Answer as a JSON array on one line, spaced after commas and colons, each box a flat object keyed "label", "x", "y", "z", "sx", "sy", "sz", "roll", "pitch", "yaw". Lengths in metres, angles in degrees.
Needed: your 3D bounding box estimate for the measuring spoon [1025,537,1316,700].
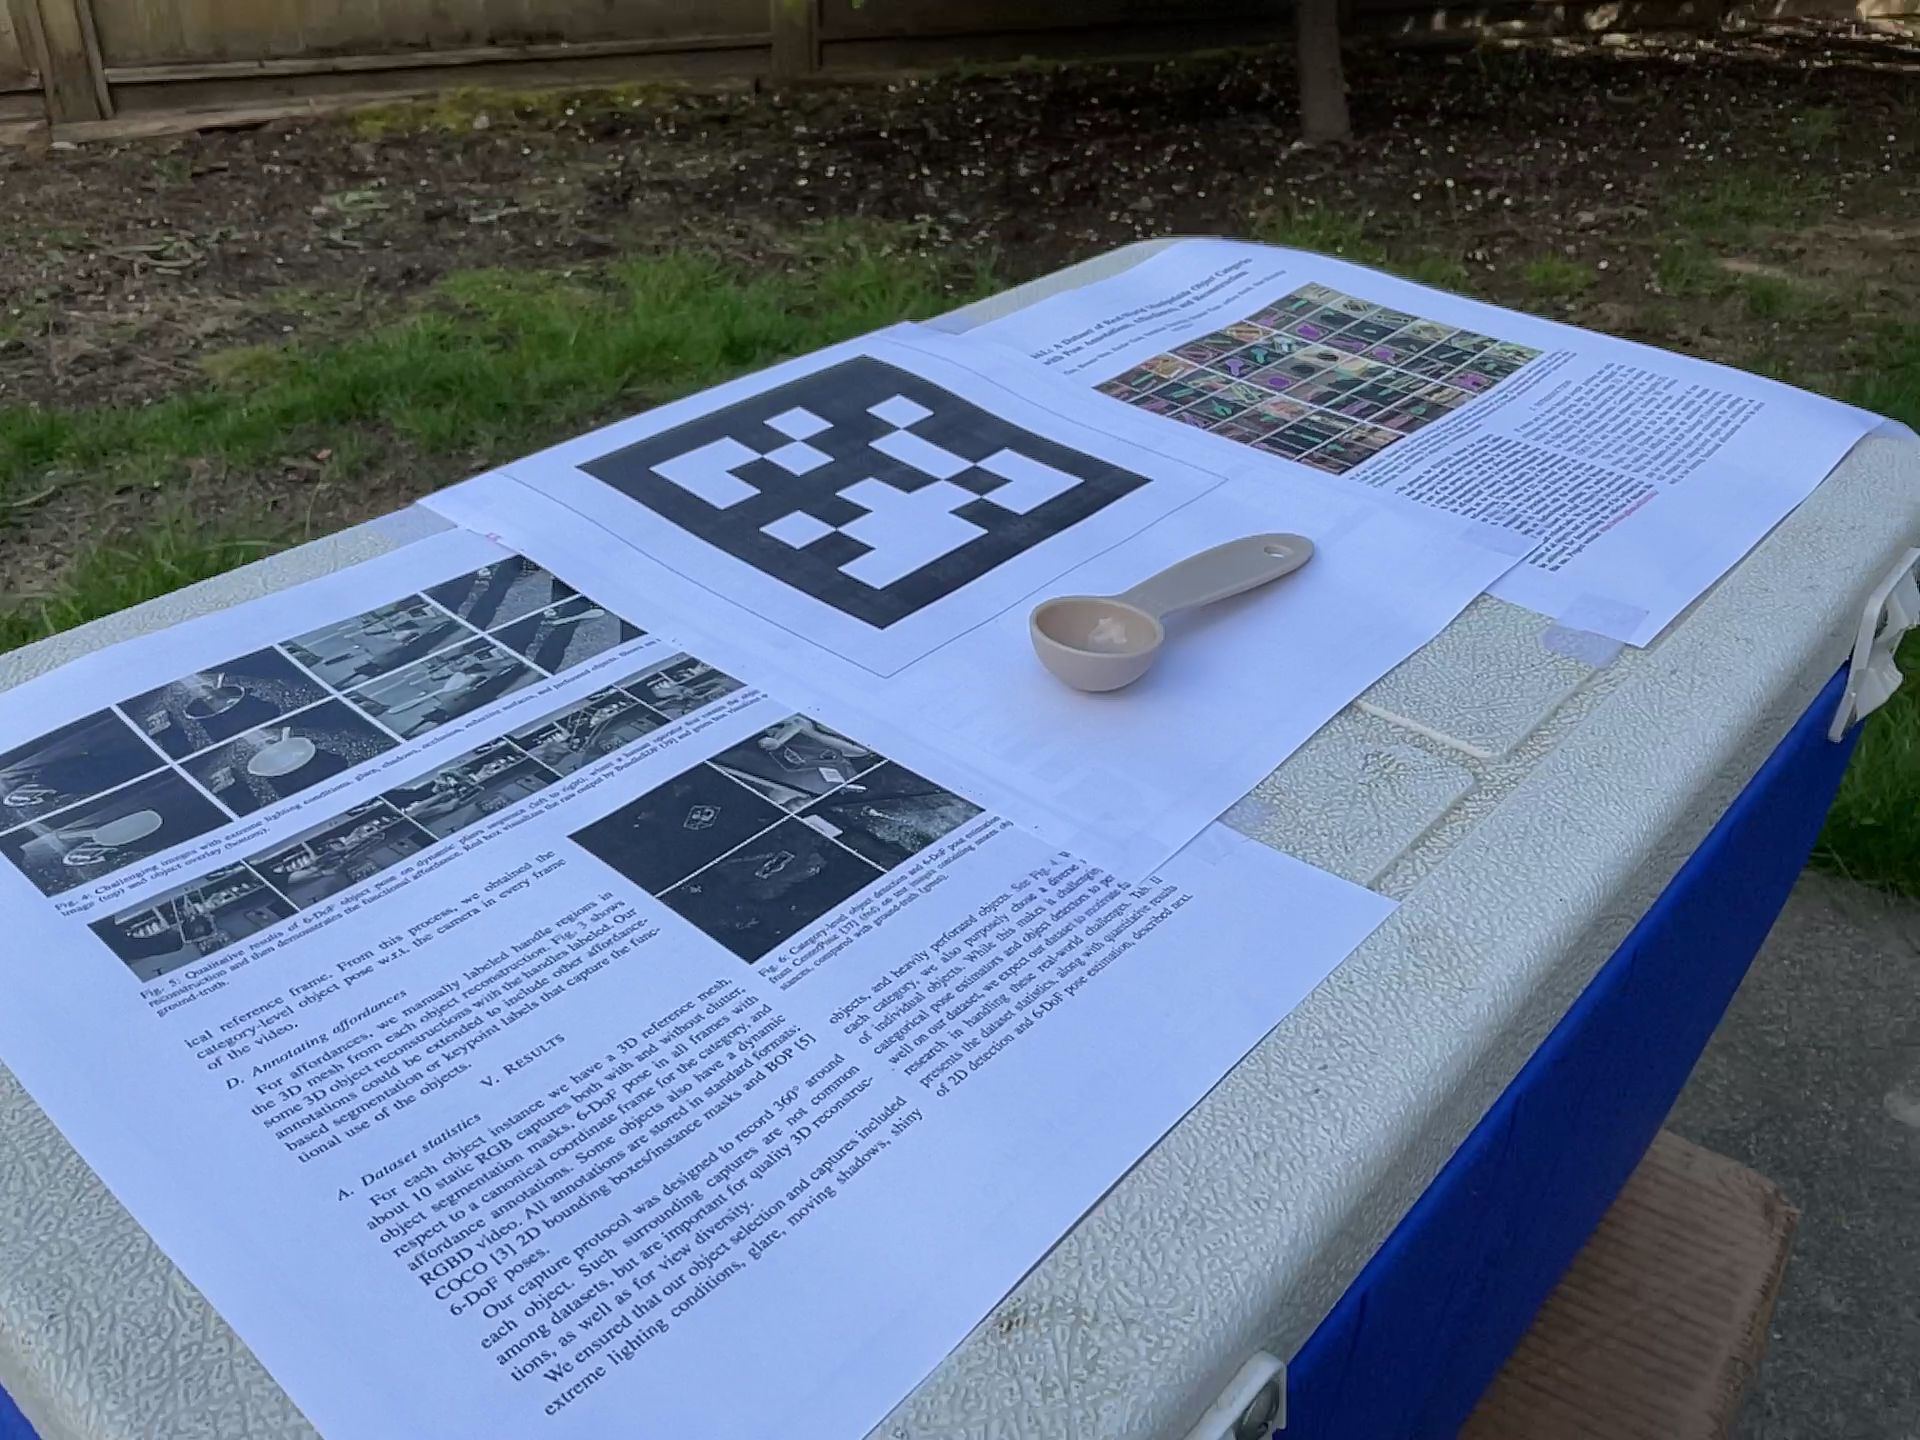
[{"label": "measuring spoon", "x": 0.061, "y": -0.028, "z": 0.428, "sx": 0.034, "sy": 0.018, "sz": 0.124, "roll": 25, "pitch": 33, "yaw": 32}]
